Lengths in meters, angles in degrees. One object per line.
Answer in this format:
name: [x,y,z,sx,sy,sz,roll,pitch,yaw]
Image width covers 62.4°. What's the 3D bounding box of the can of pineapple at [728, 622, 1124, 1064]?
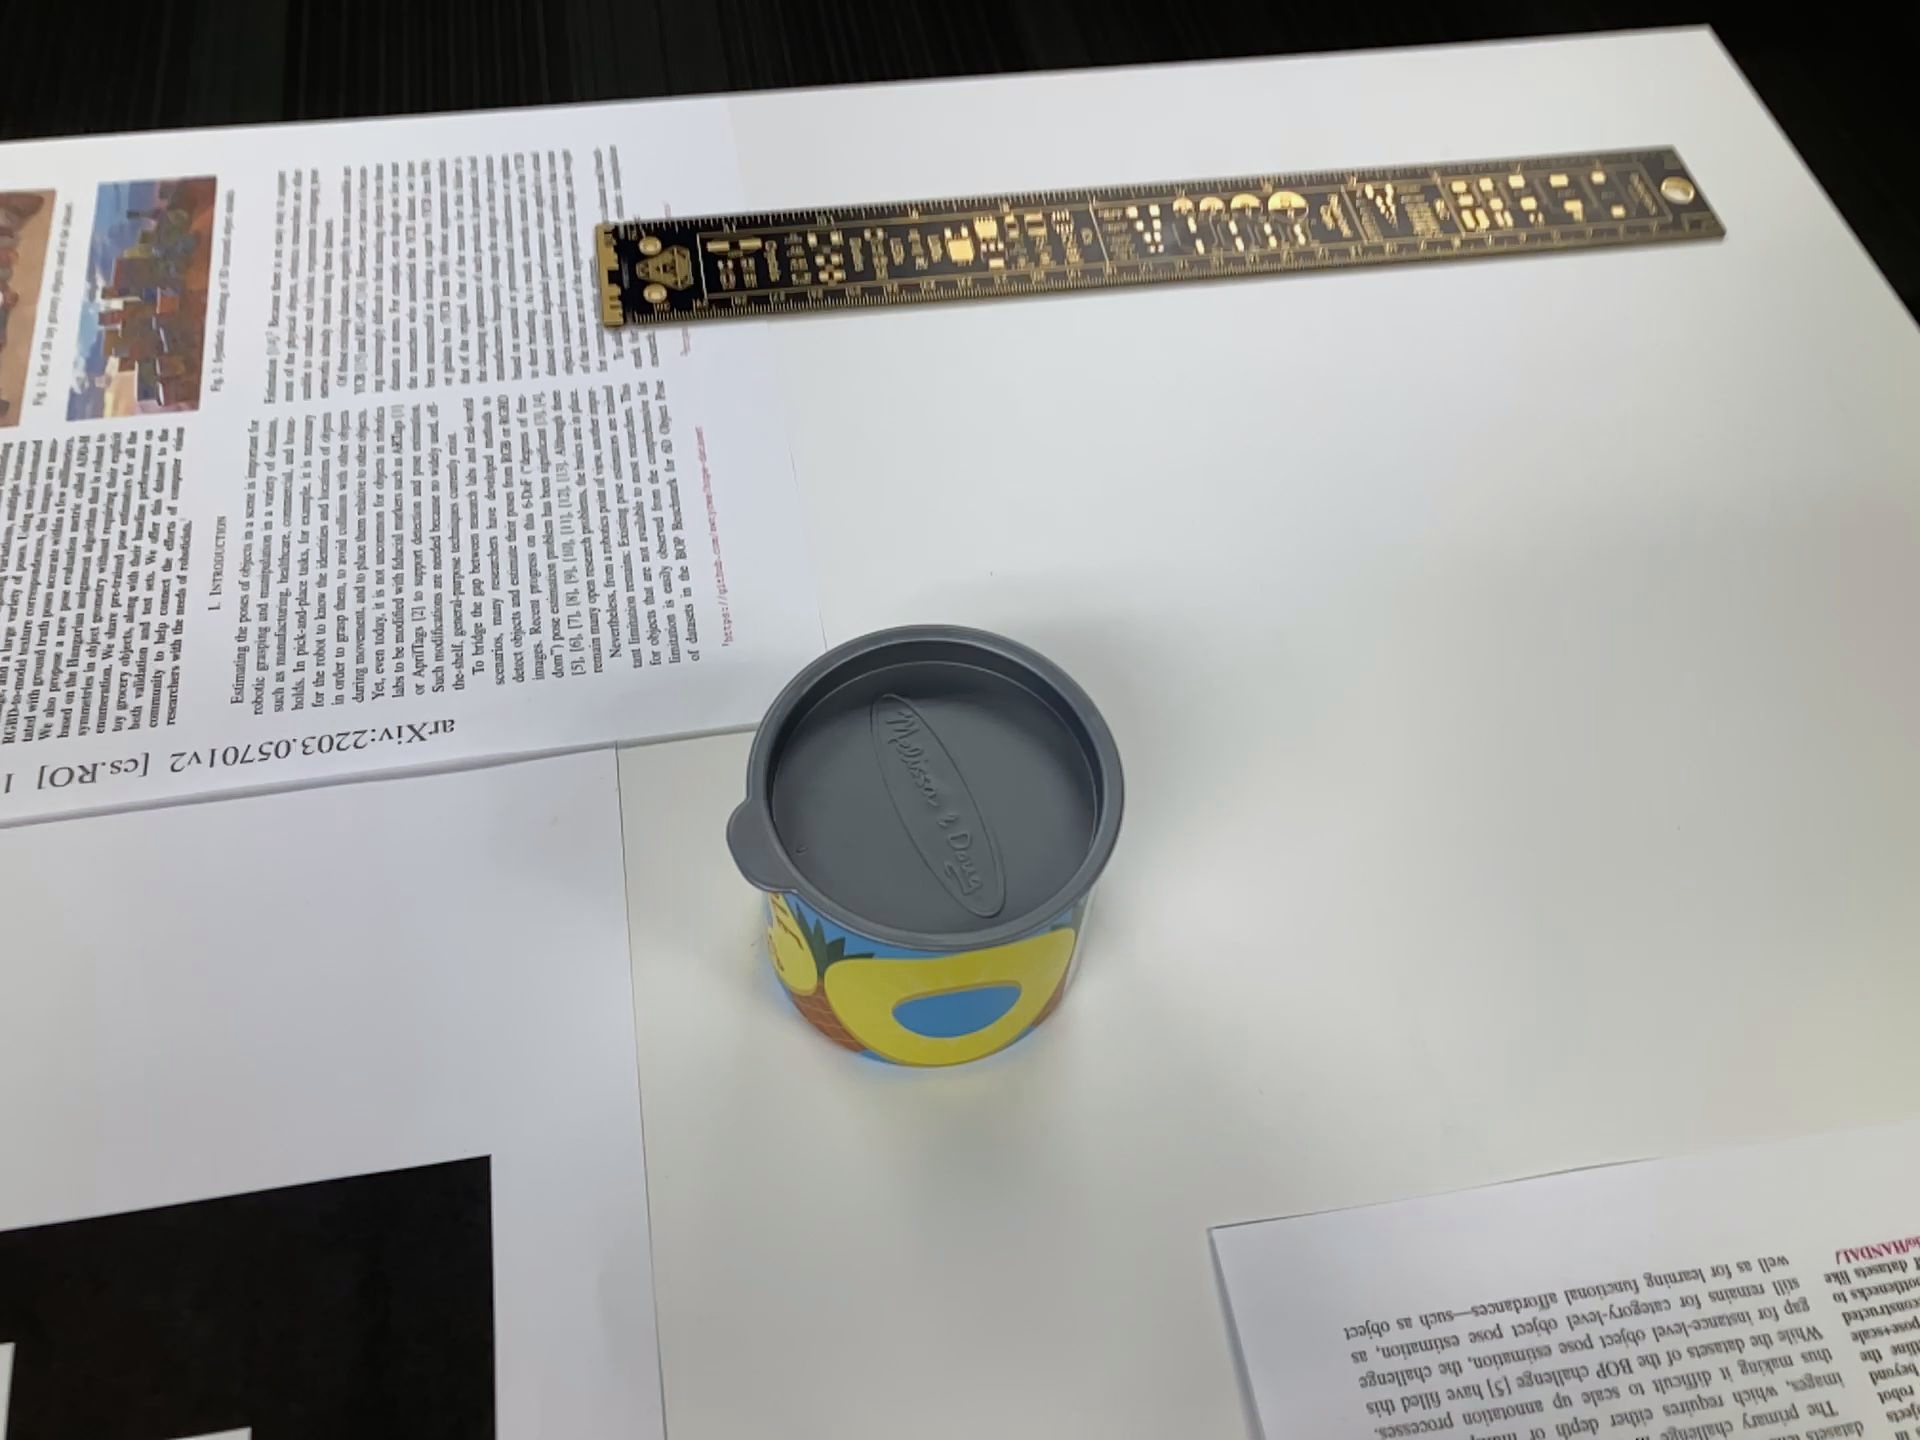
can of pineapple: [-0.007,0.025,0.302,0.071,0.058,0.071,2,57,-2]
